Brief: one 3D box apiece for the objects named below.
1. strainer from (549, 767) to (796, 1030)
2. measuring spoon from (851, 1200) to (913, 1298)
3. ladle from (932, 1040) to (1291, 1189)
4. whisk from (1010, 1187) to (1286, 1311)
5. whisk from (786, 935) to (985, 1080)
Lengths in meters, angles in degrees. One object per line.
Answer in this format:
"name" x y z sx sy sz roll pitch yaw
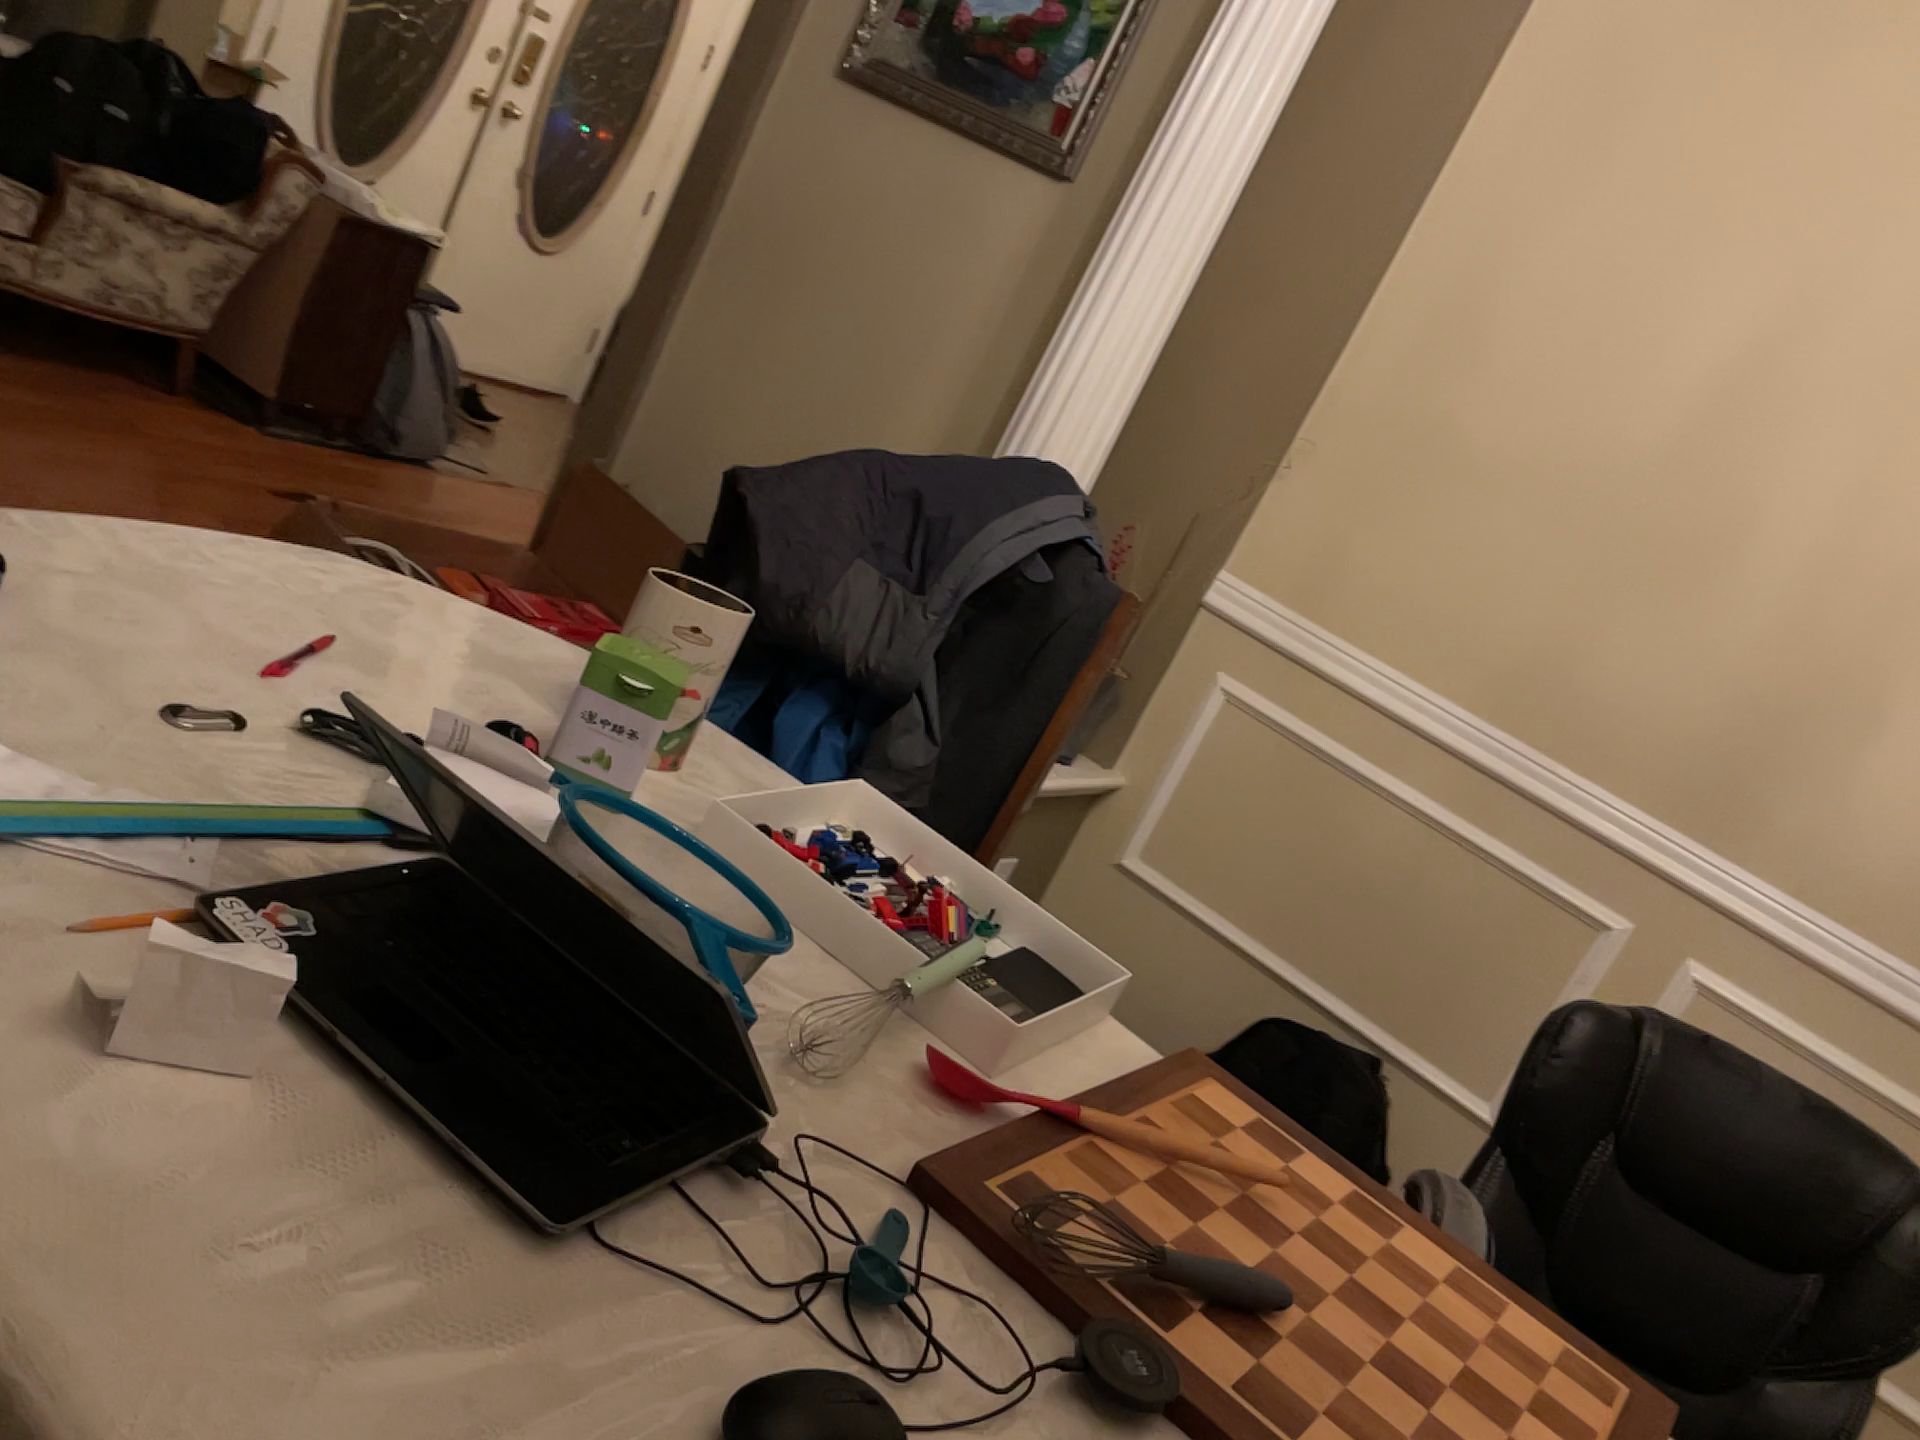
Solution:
"strainer" -0.213 0.163 1.140 0.210 0.095 0.341 34 5 -27
"measuring spoon" -0.050 0.336 1.011 0.042 0.021 0.128 35 3 0
"ladle" 0.121 0.321 1.272 0.315 0.031 0.069 20 -7 -7
"whisk" 0.134 0.373 1.097 0.238 0.055 0.055 25 28 -24
"whisk" -0.053 0.219 1.262 0.246 0.058 0.059 -22 79 -53
